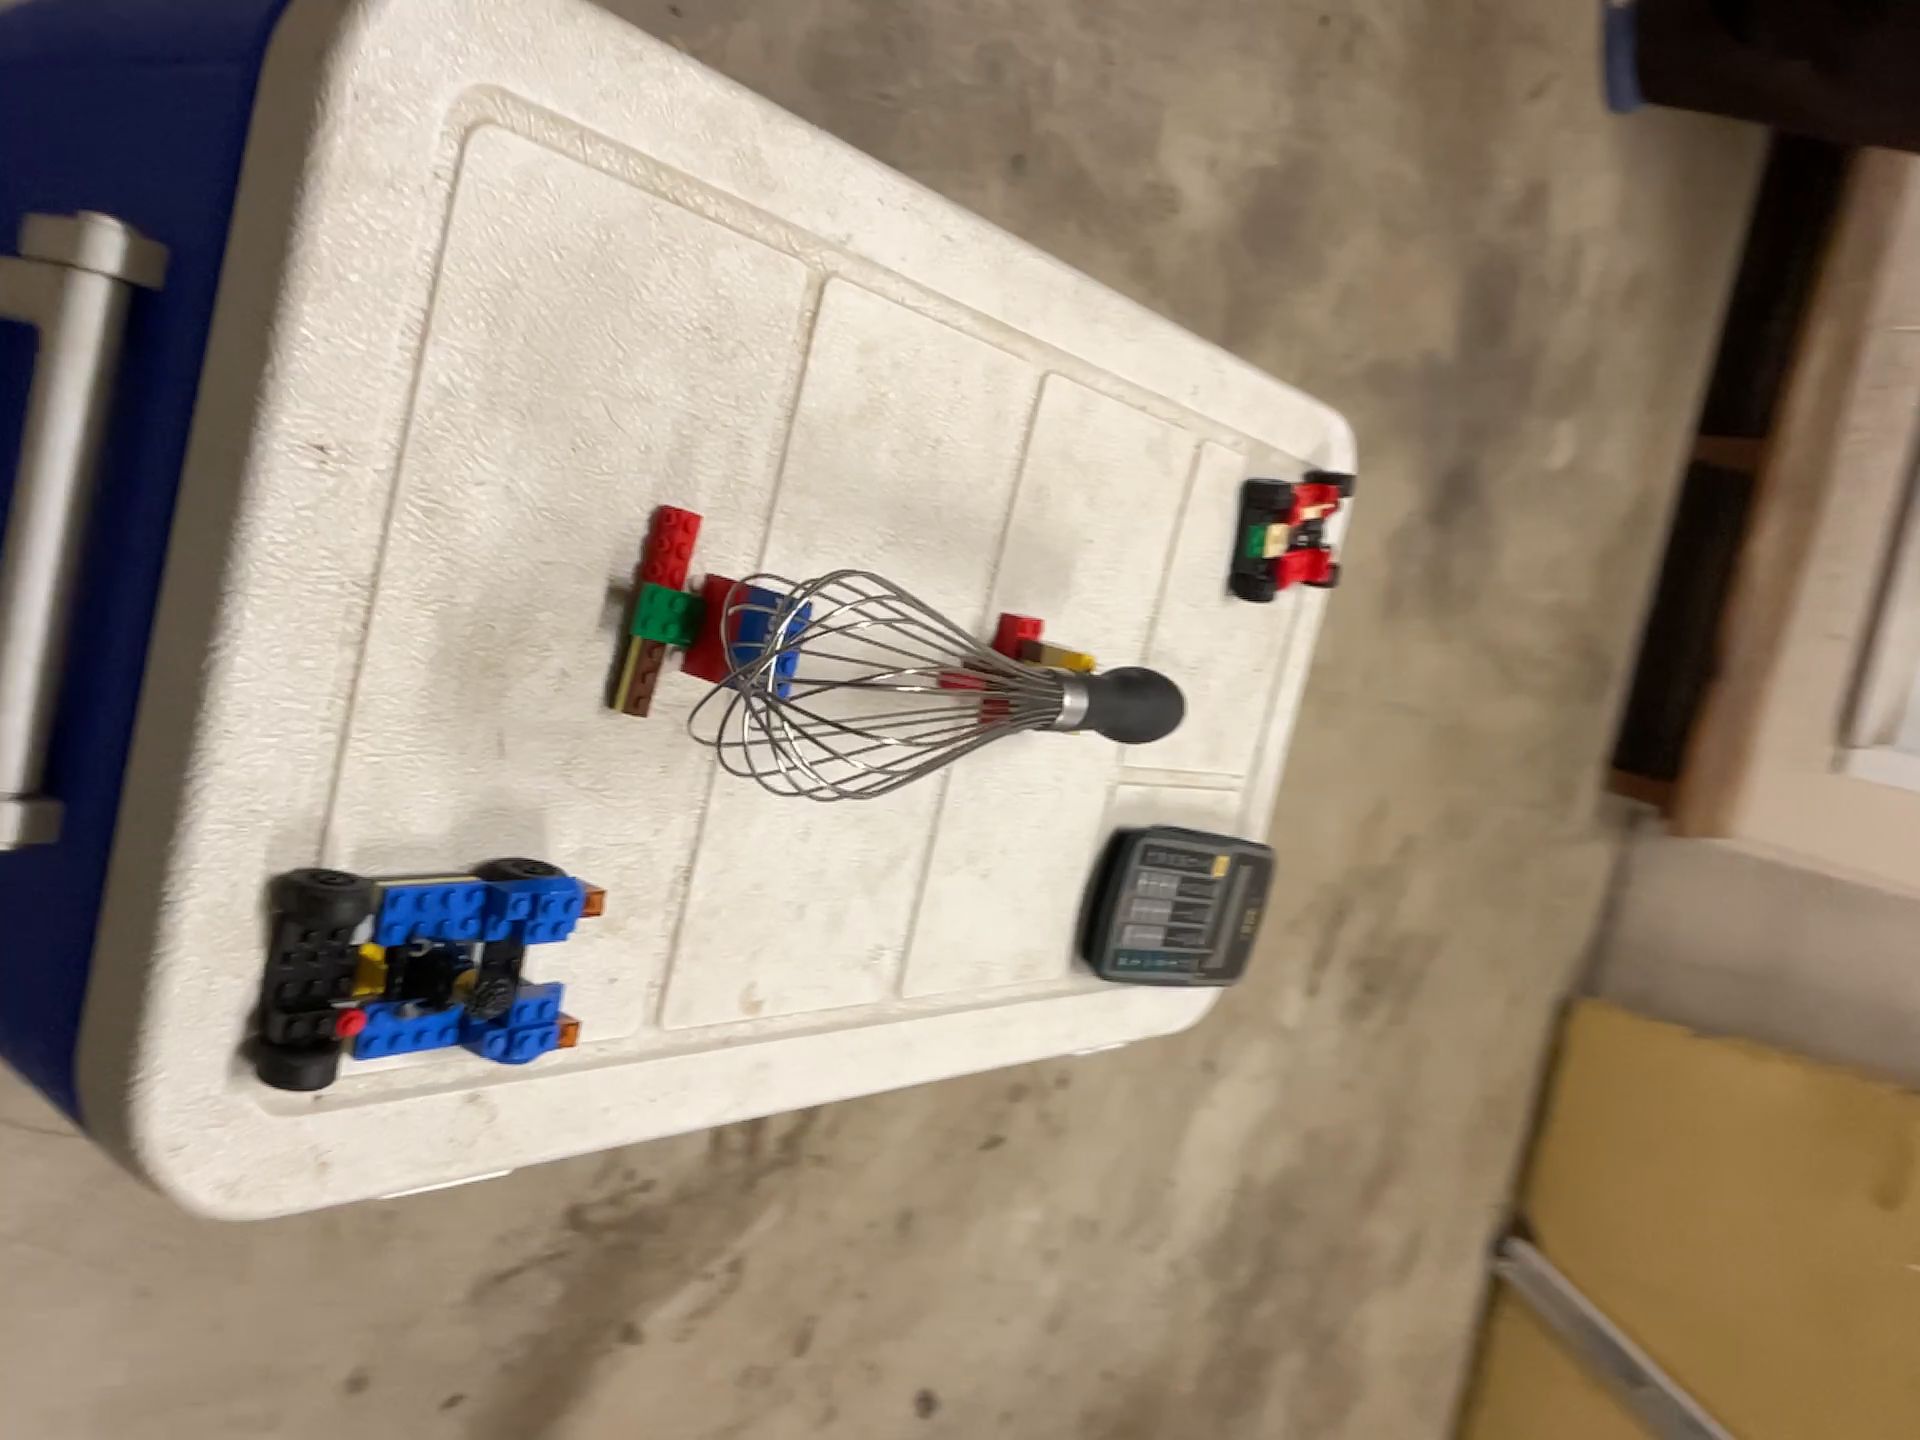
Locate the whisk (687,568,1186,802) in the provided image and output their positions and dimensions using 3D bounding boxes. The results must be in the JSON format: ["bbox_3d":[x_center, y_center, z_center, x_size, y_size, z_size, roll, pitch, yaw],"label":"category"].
[{"bbox_3d":[0.015,-0.008,0.520,0.285,0.070,0.070,2,98,-60],"label":"whisk"}]
